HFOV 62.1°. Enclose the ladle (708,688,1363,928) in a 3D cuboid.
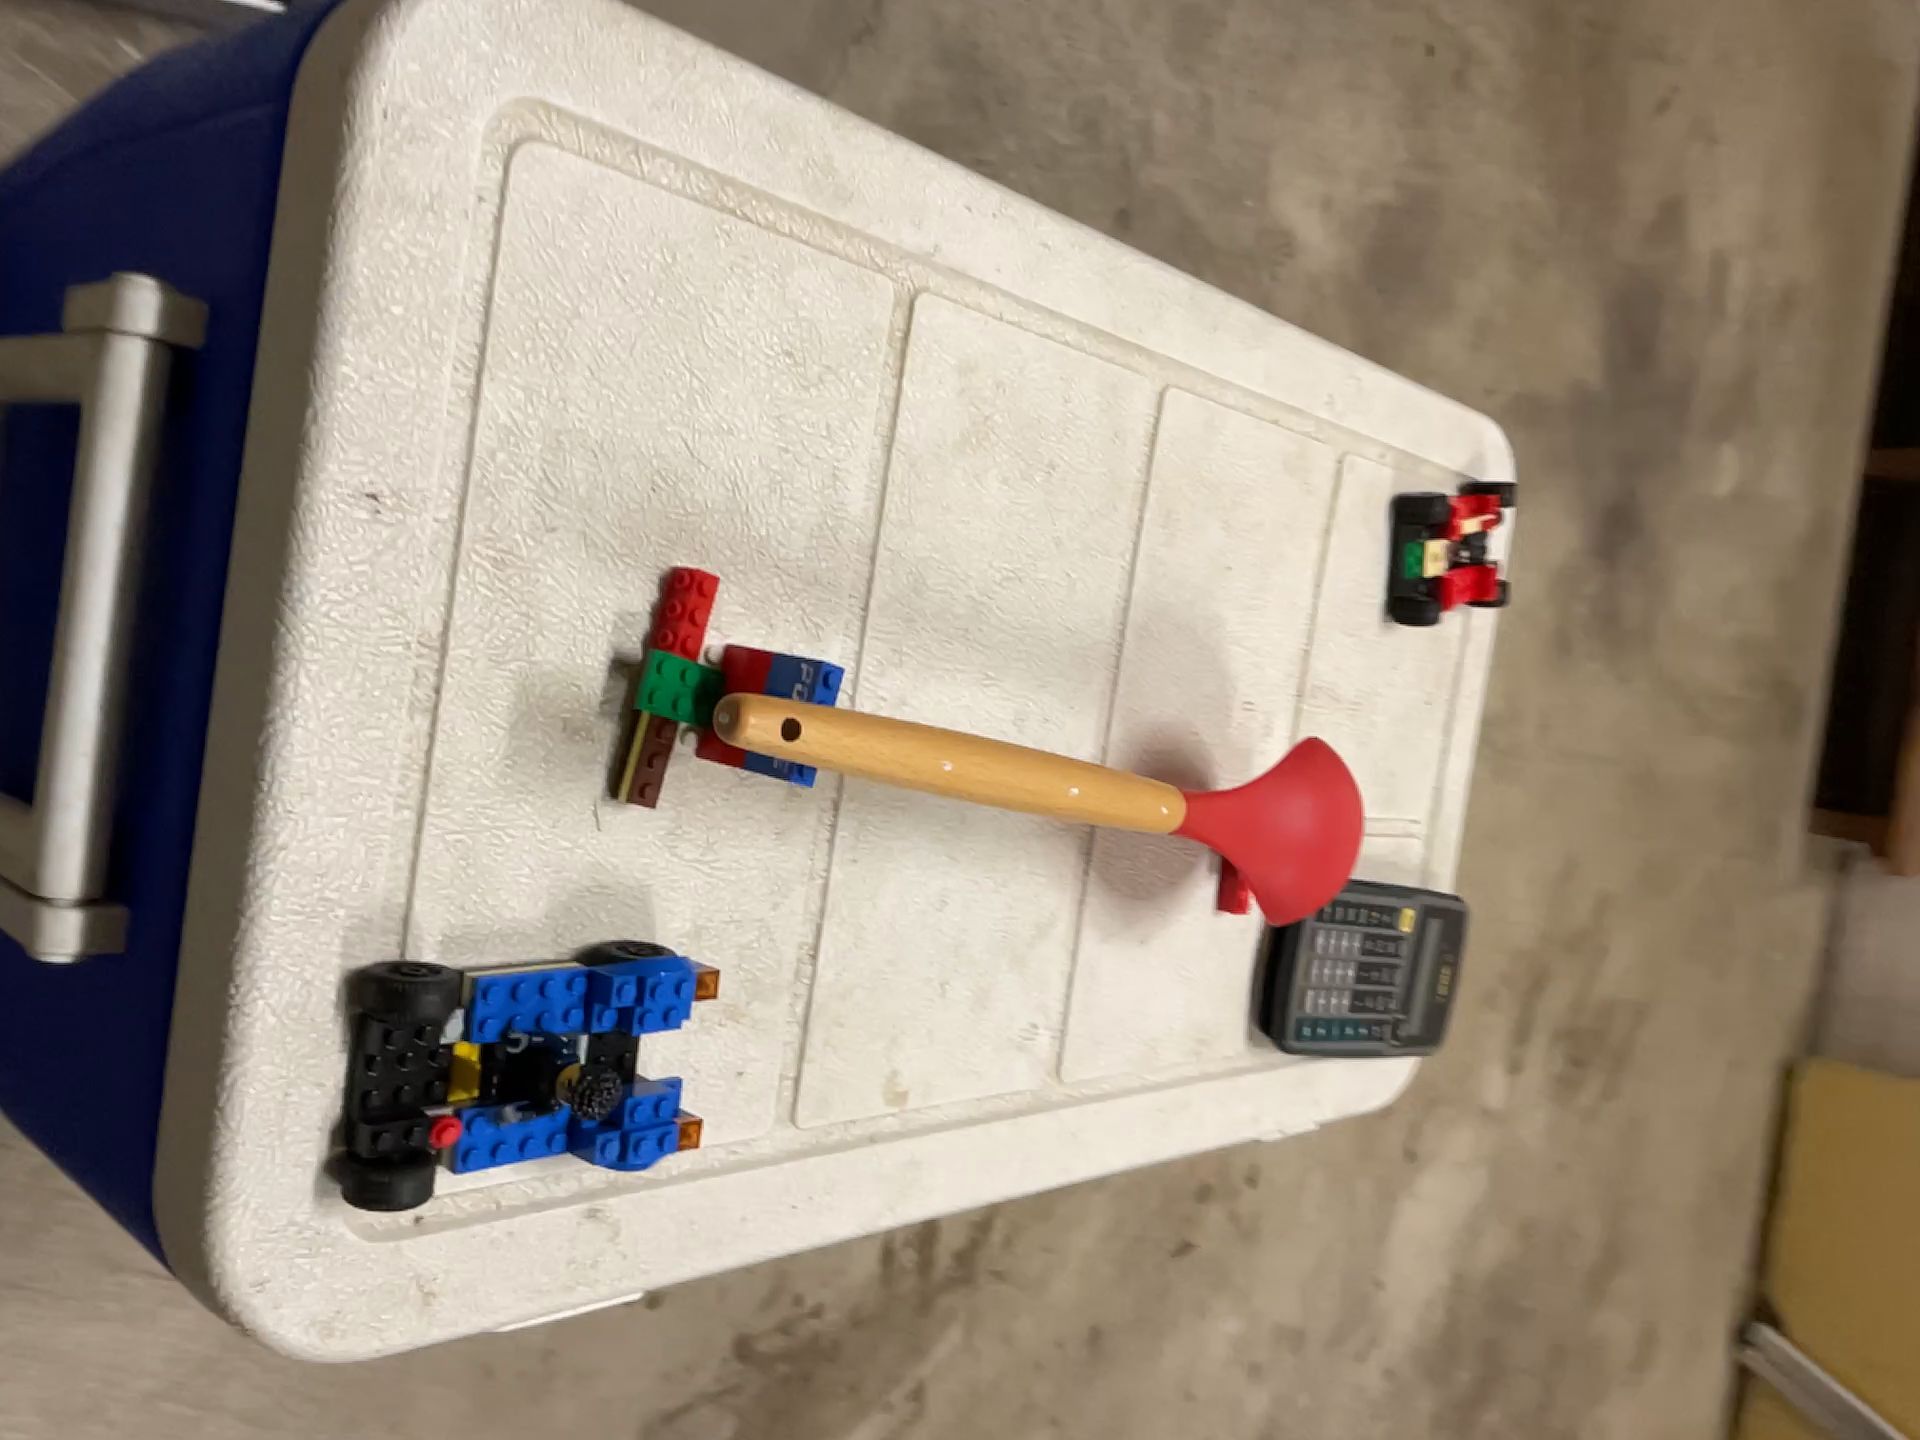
[{"bbox_3d":[0.047,0.023,0.484,0.315,0.031,0.069,14,89,-48],"label":"ladle"}]
